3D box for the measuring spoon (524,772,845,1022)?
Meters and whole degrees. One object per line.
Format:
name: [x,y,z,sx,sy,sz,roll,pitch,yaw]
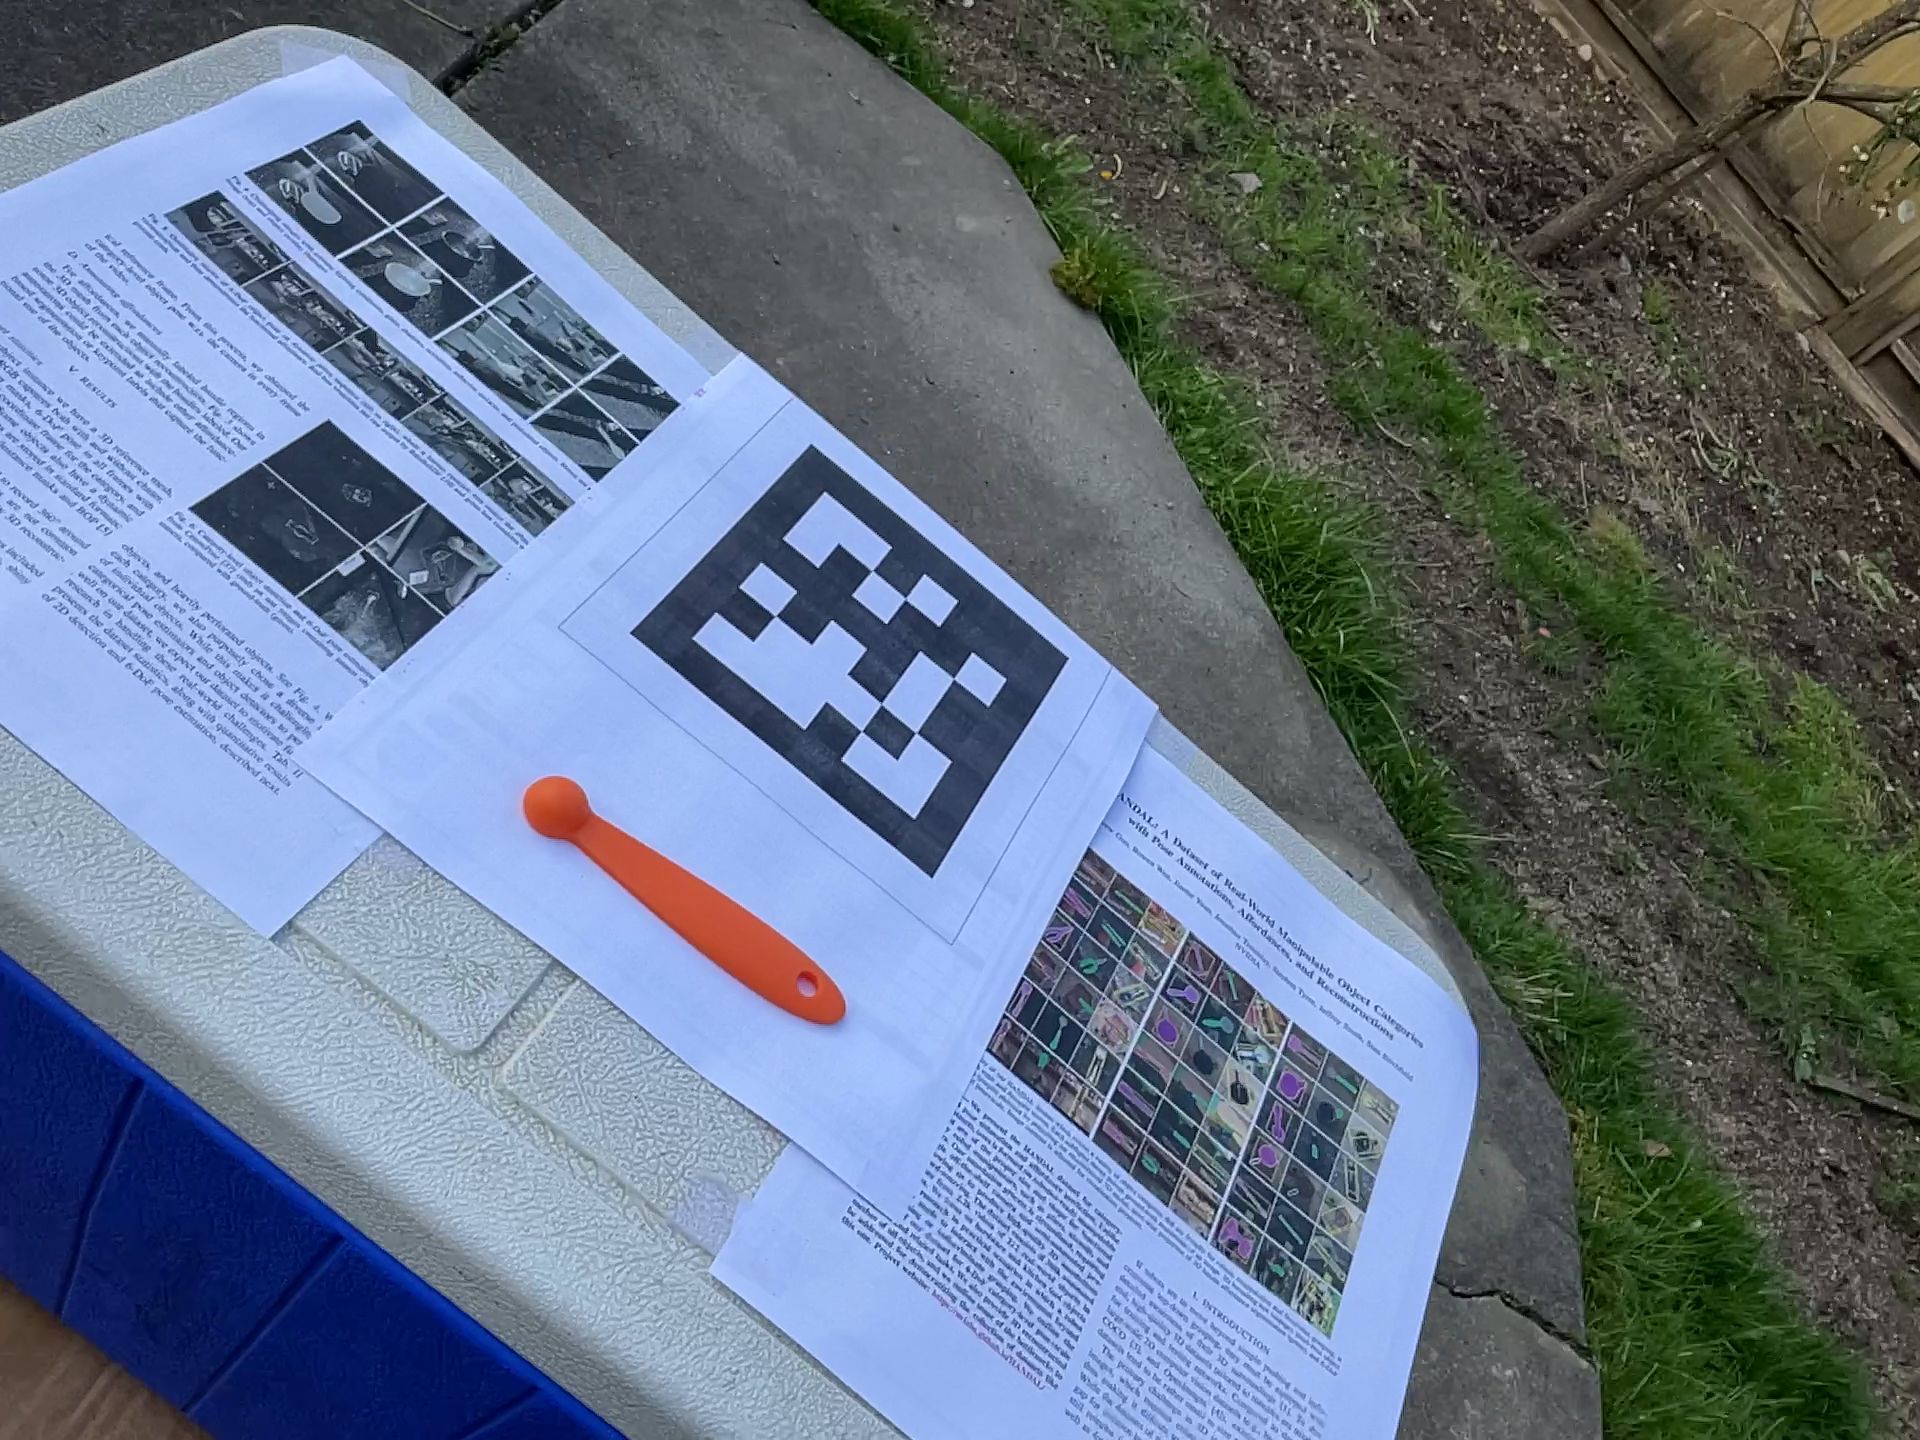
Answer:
measuring spoon: [-0.080,0.053,0.481,0.117,0.011,0.021,38,49,-9]
